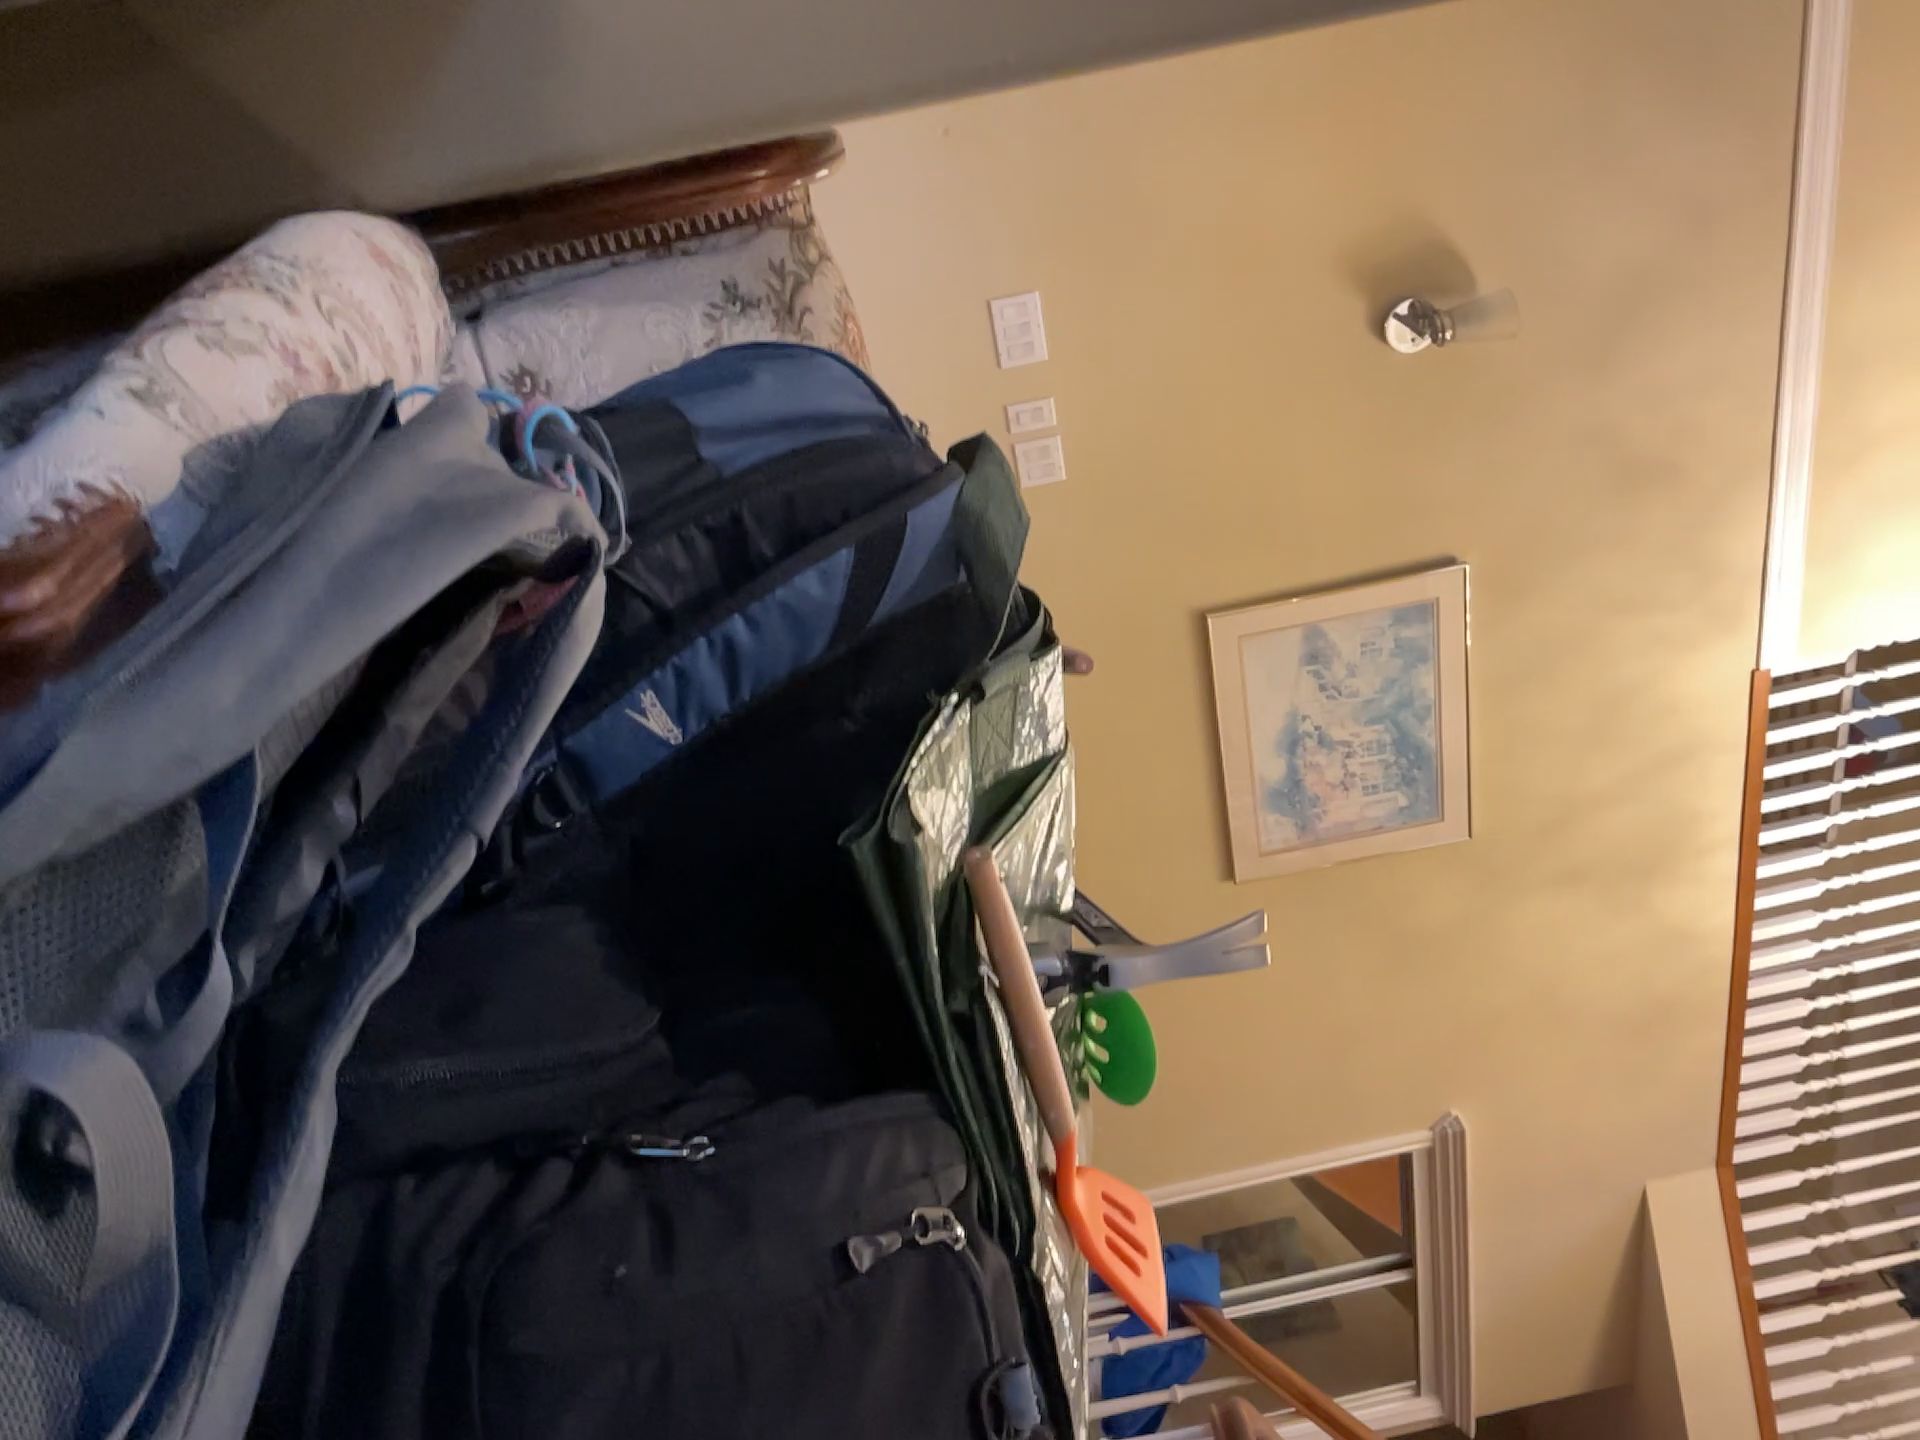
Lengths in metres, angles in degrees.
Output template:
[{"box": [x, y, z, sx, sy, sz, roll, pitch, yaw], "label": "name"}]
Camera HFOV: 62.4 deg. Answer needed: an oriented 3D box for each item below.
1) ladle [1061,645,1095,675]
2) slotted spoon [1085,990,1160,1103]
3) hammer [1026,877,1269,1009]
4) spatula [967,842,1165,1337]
[{"box": [0.054, -0.041, 1.014, 0.320, 0.062, 0.078, -152, -106, -80], "label": "ladle"}, {"box": [0.069, 0.180, 1.062, 0.314, 0.031, 0.070, -151, -117, -77], "label": "slotted spoon"}, {"box": [0.068, 0.110, 1.019, 0.409, 0.149, 0.036, -147, -127, -79], "label": "hammer"}, {"box": [0.052, 0.176, 0.752, 0.081, 0.041, 0.322, -91, 168, -52], "label": "spatula"}]
